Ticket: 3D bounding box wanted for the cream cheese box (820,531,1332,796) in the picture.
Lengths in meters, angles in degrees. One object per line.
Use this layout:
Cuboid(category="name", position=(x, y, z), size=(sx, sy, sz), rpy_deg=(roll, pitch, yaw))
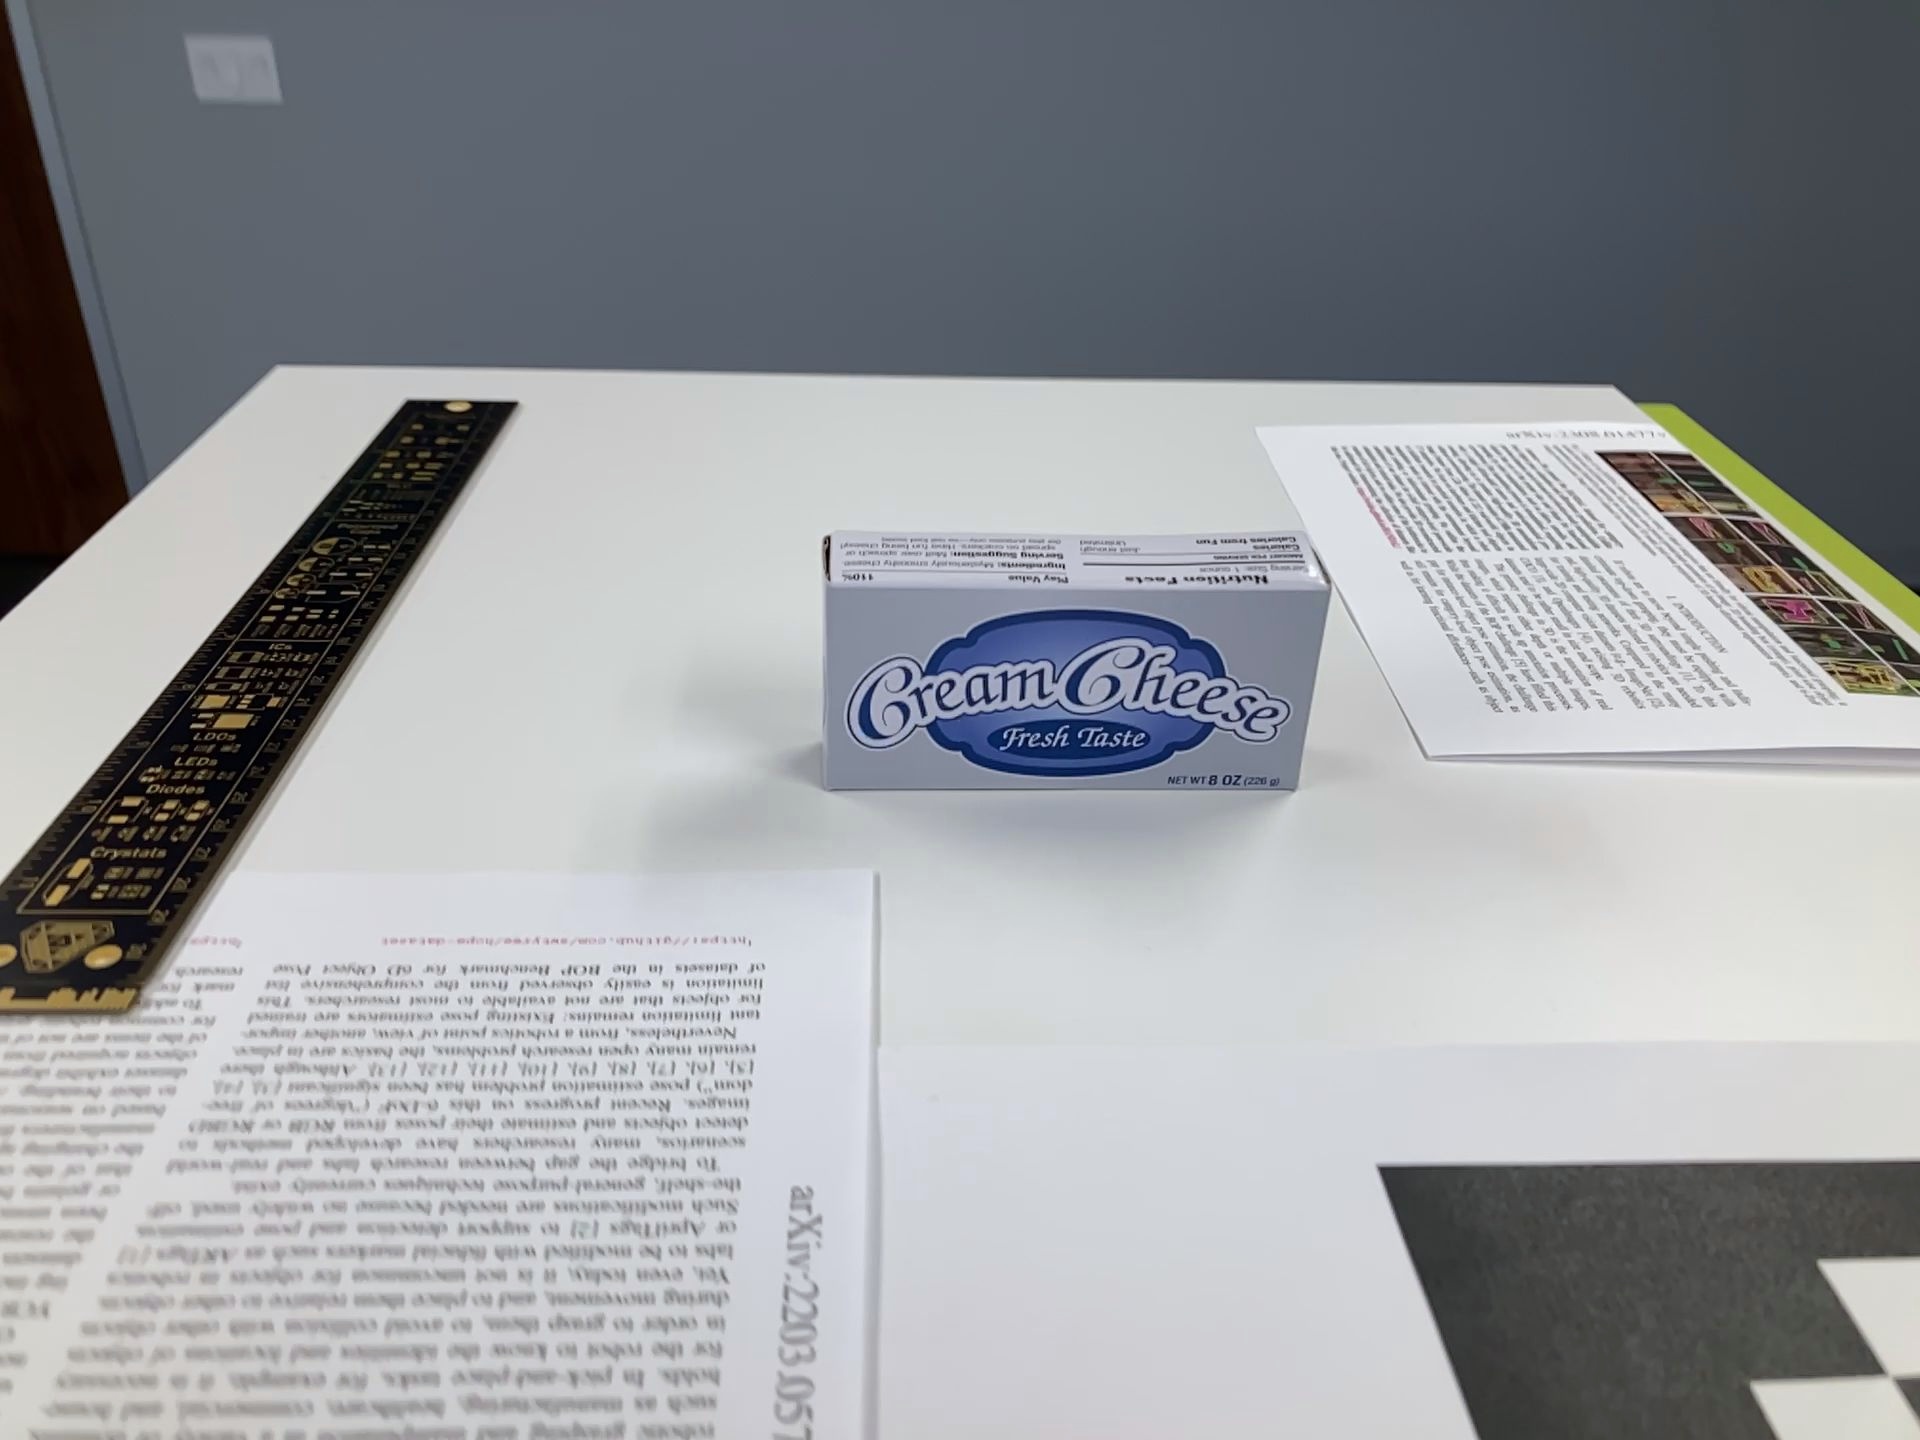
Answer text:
Cuboid(category="cream cheese box", position=(0.022, -0.012, 0.336), size=(0.104, 0.053, 0.024), rpy_deg=(-1, 32, -3))
